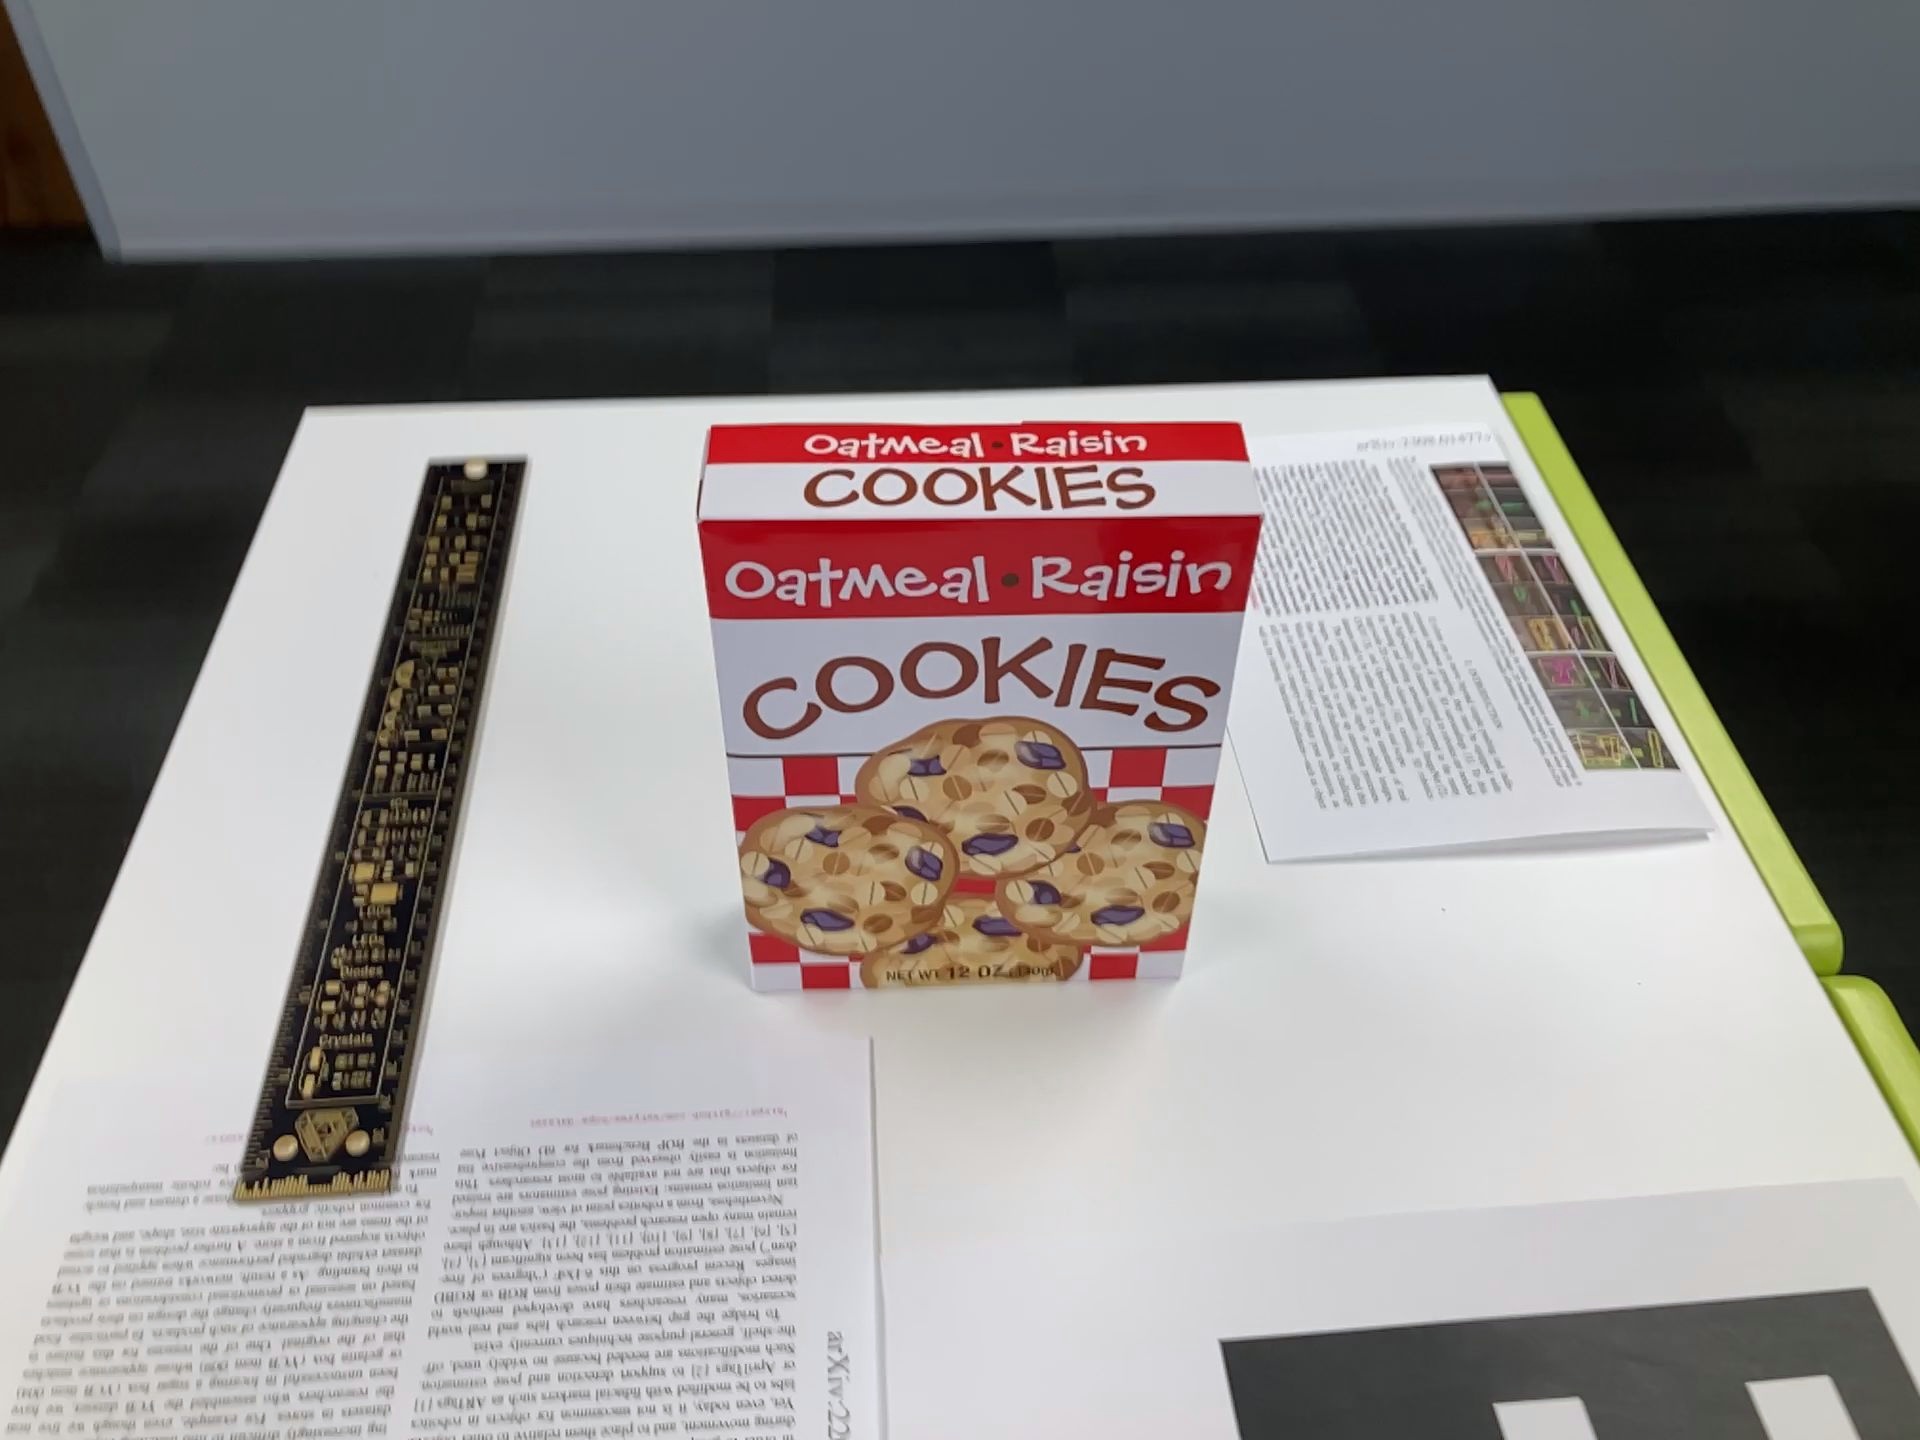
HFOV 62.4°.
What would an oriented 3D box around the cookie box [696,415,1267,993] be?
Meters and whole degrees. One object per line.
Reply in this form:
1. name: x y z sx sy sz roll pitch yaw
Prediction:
1. cookie box: 0.003 0.002 0.404 0.123 0.167 0.040 -1 44 -2
